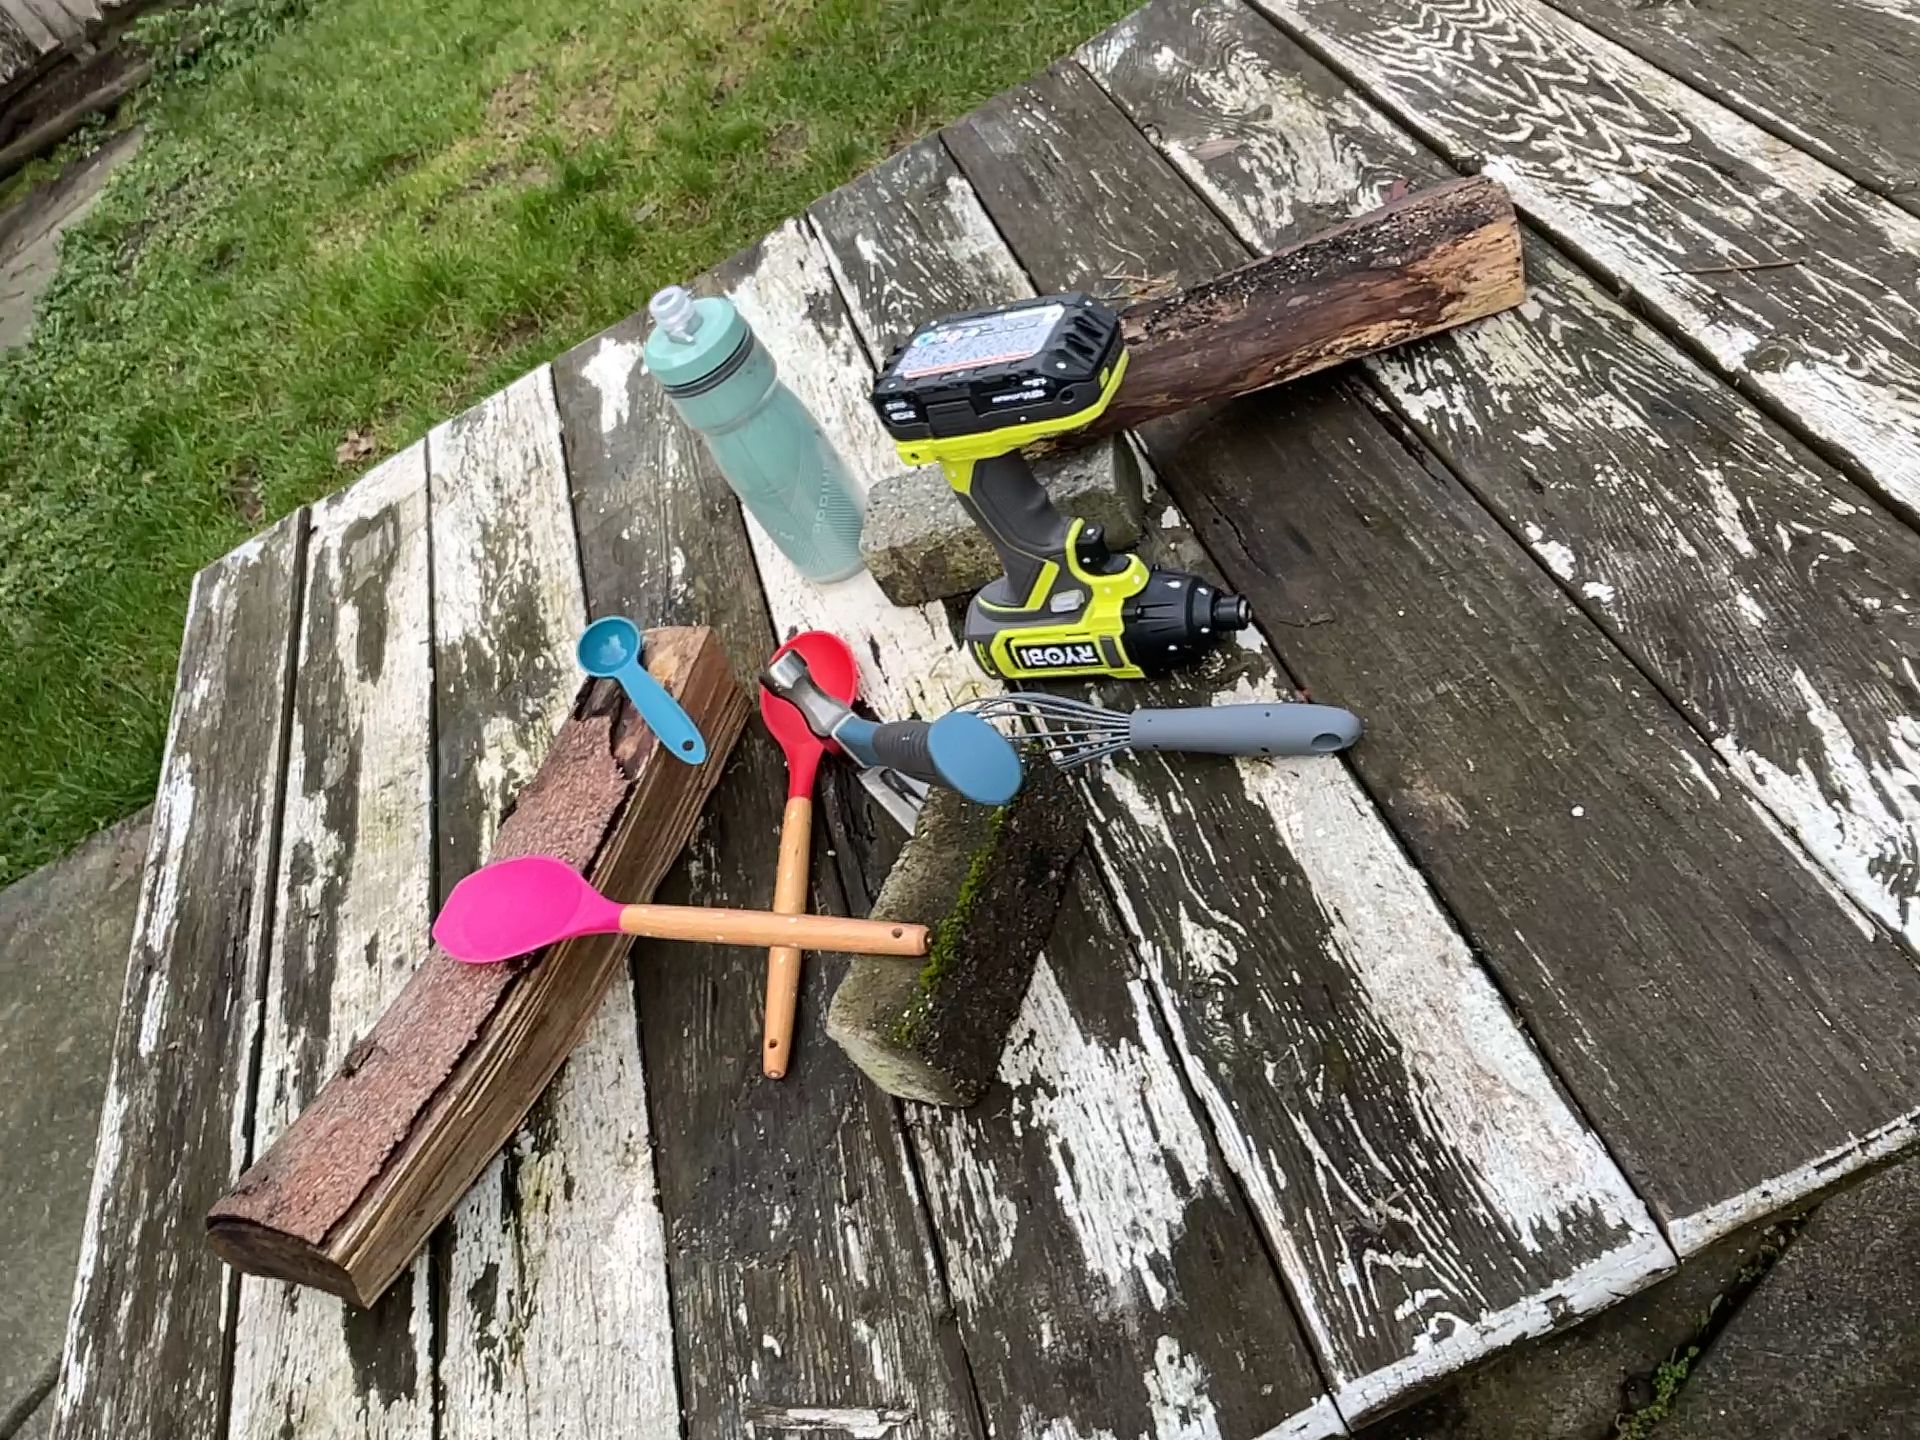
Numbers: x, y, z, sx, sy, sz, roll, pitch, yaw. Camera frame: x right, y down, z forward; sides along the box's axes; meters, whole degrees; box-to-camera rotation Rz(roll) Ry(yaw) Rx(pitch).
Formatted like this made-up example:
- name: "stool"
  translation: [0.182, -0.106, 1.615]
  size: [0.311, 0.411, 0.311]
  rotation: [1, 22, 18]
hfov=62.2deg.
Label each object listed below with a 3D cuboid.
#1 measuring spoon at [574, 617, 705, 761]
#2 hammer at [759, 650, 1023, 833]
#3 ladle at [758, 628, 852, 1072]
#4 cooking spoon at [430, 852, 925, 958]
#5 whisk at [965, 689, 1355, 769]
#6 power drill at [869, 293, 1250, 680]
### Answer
- name: "measuring spoon"
  translation: [-0.195, -0.015, 0.993]
  size: [0.042, 0.021, 0.129]
  rotation: [-41, 64, -7]
- name: "hammer"
  translation: [-0.032, 0.014, 0.827]
  size: [0.033, 0.128, 0.331]
  rotation: [-46, 11, -9]
- name: "ladle"
  translation: [-0.100, 0.069, 0.970]
  size: [0.069, 0.031, 0.316]
  rotation: [-16, 47, 17]
- name: "cooking spoon"
  translation: [-0.160, 0.107, 0.852]
  size: [0.319, 0.017, 0.069]
  rotation: [1, 52, 28]
- name: "whisk"
  translation: [0.098, 0.004, 0.878]
  size: [0.239, 0.055, 0.055]
  rotation: [-3, 59, 27]
- name: "power drill"
  translation: [0.057, -0.118, 0.893]
  size: [0.171, 0.223, 0.080]
  rotation: [-3, 43, 29]
